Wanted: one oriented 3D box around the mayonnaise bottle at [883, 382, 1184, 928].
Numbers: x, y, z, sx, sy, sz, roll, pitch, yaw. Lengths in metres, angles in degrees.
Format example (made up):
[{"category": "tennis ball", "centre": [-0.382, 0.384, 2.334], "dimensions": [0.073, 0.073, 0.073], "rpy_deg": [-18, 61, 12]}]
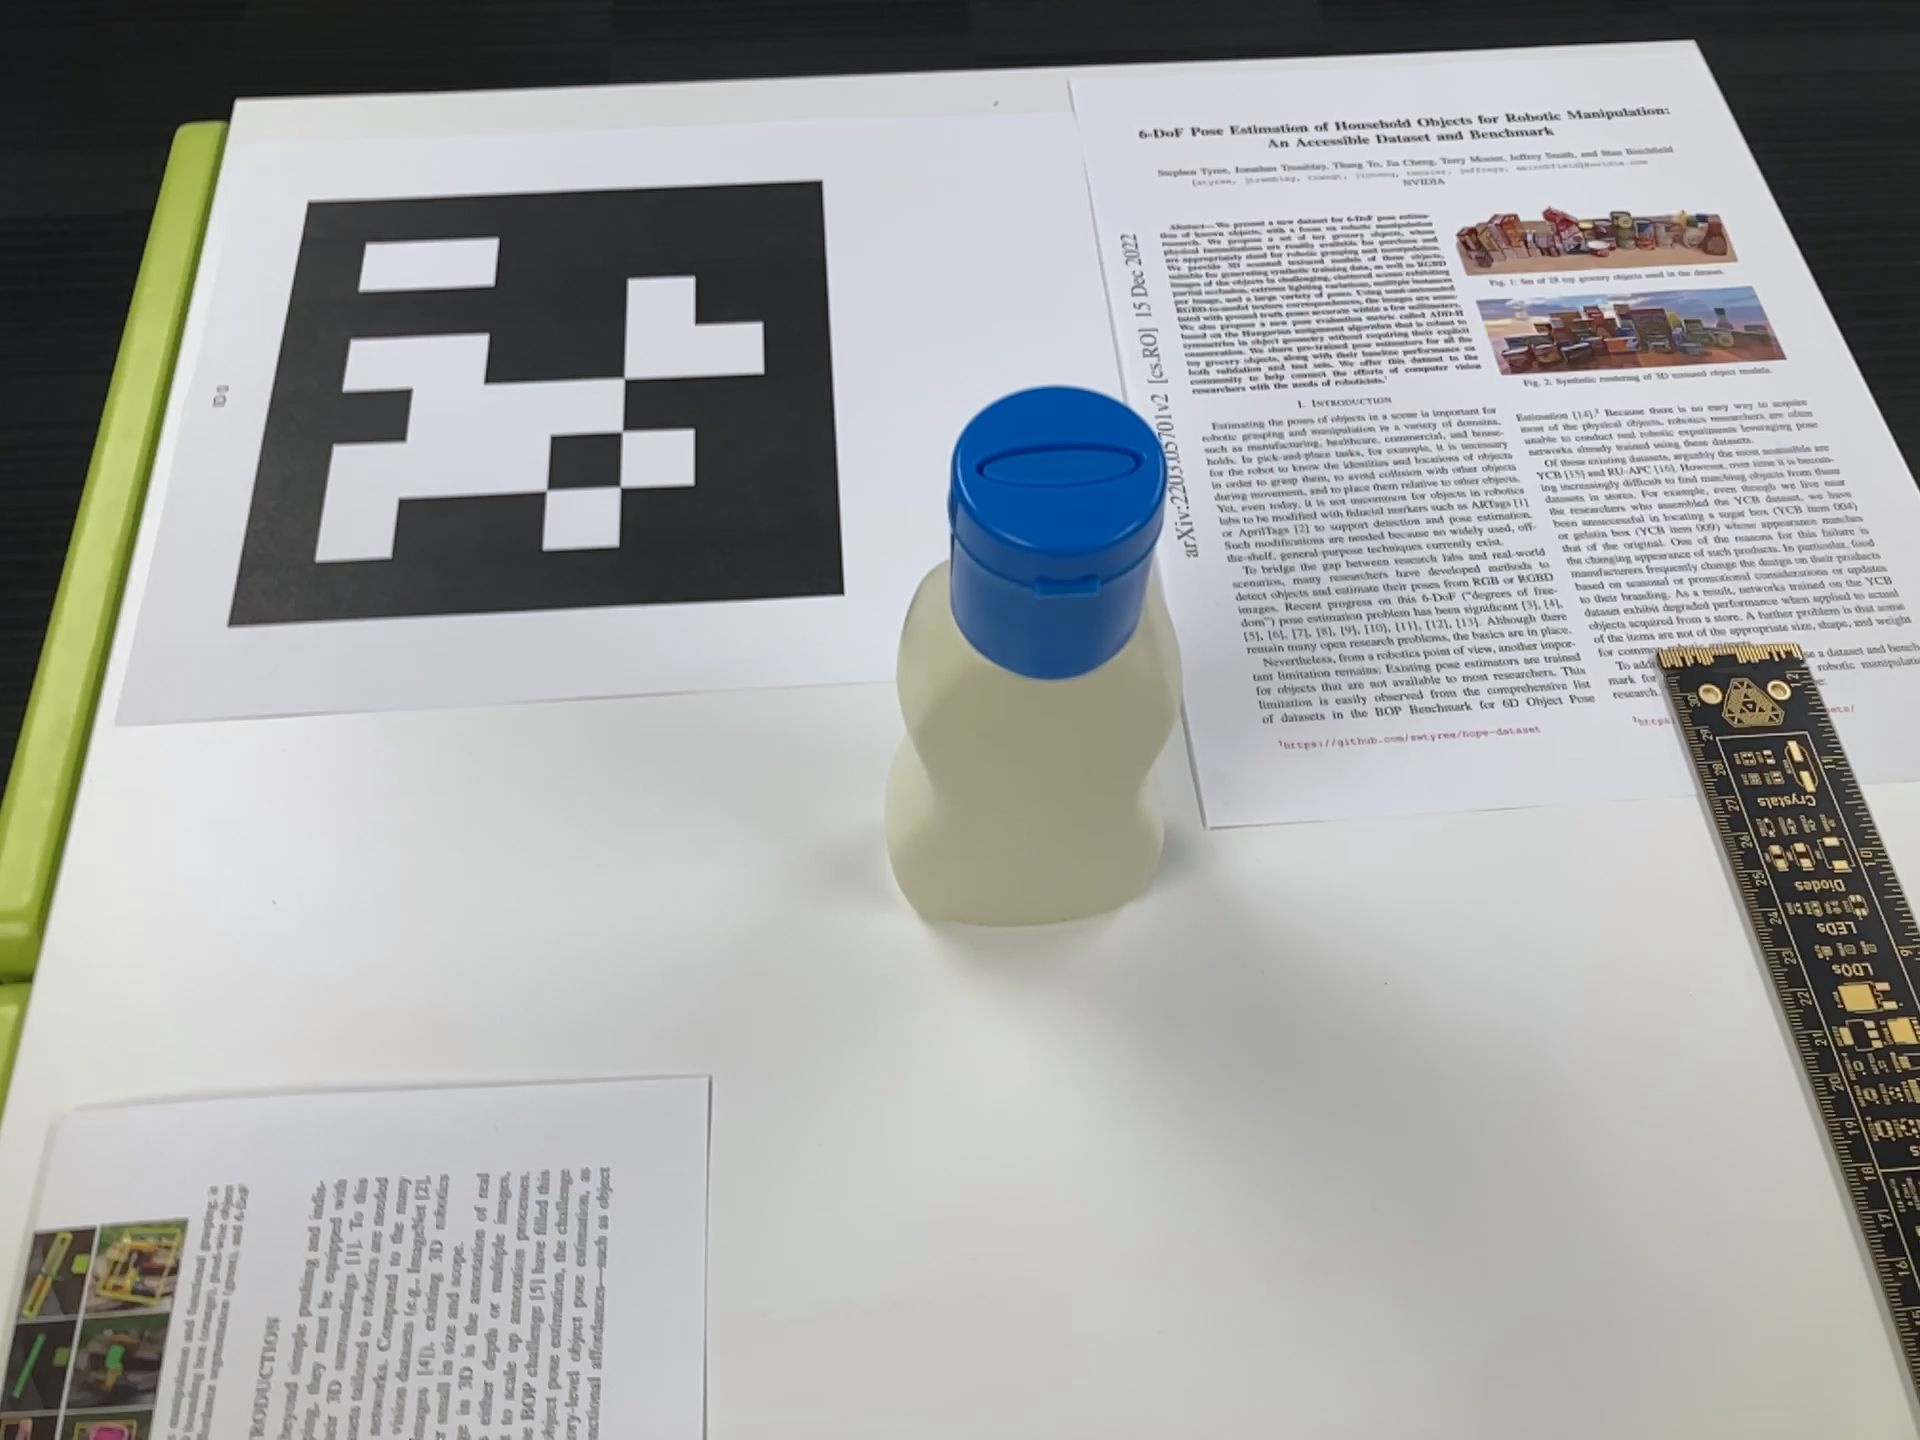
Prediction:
[{"category": "mayonnaise bottle", "centre": [0.015, -0.005, 0.322], "dimensions": [0.065, 0.148, 0.041], "rpy_deg": [-3, 59, -3]}]
